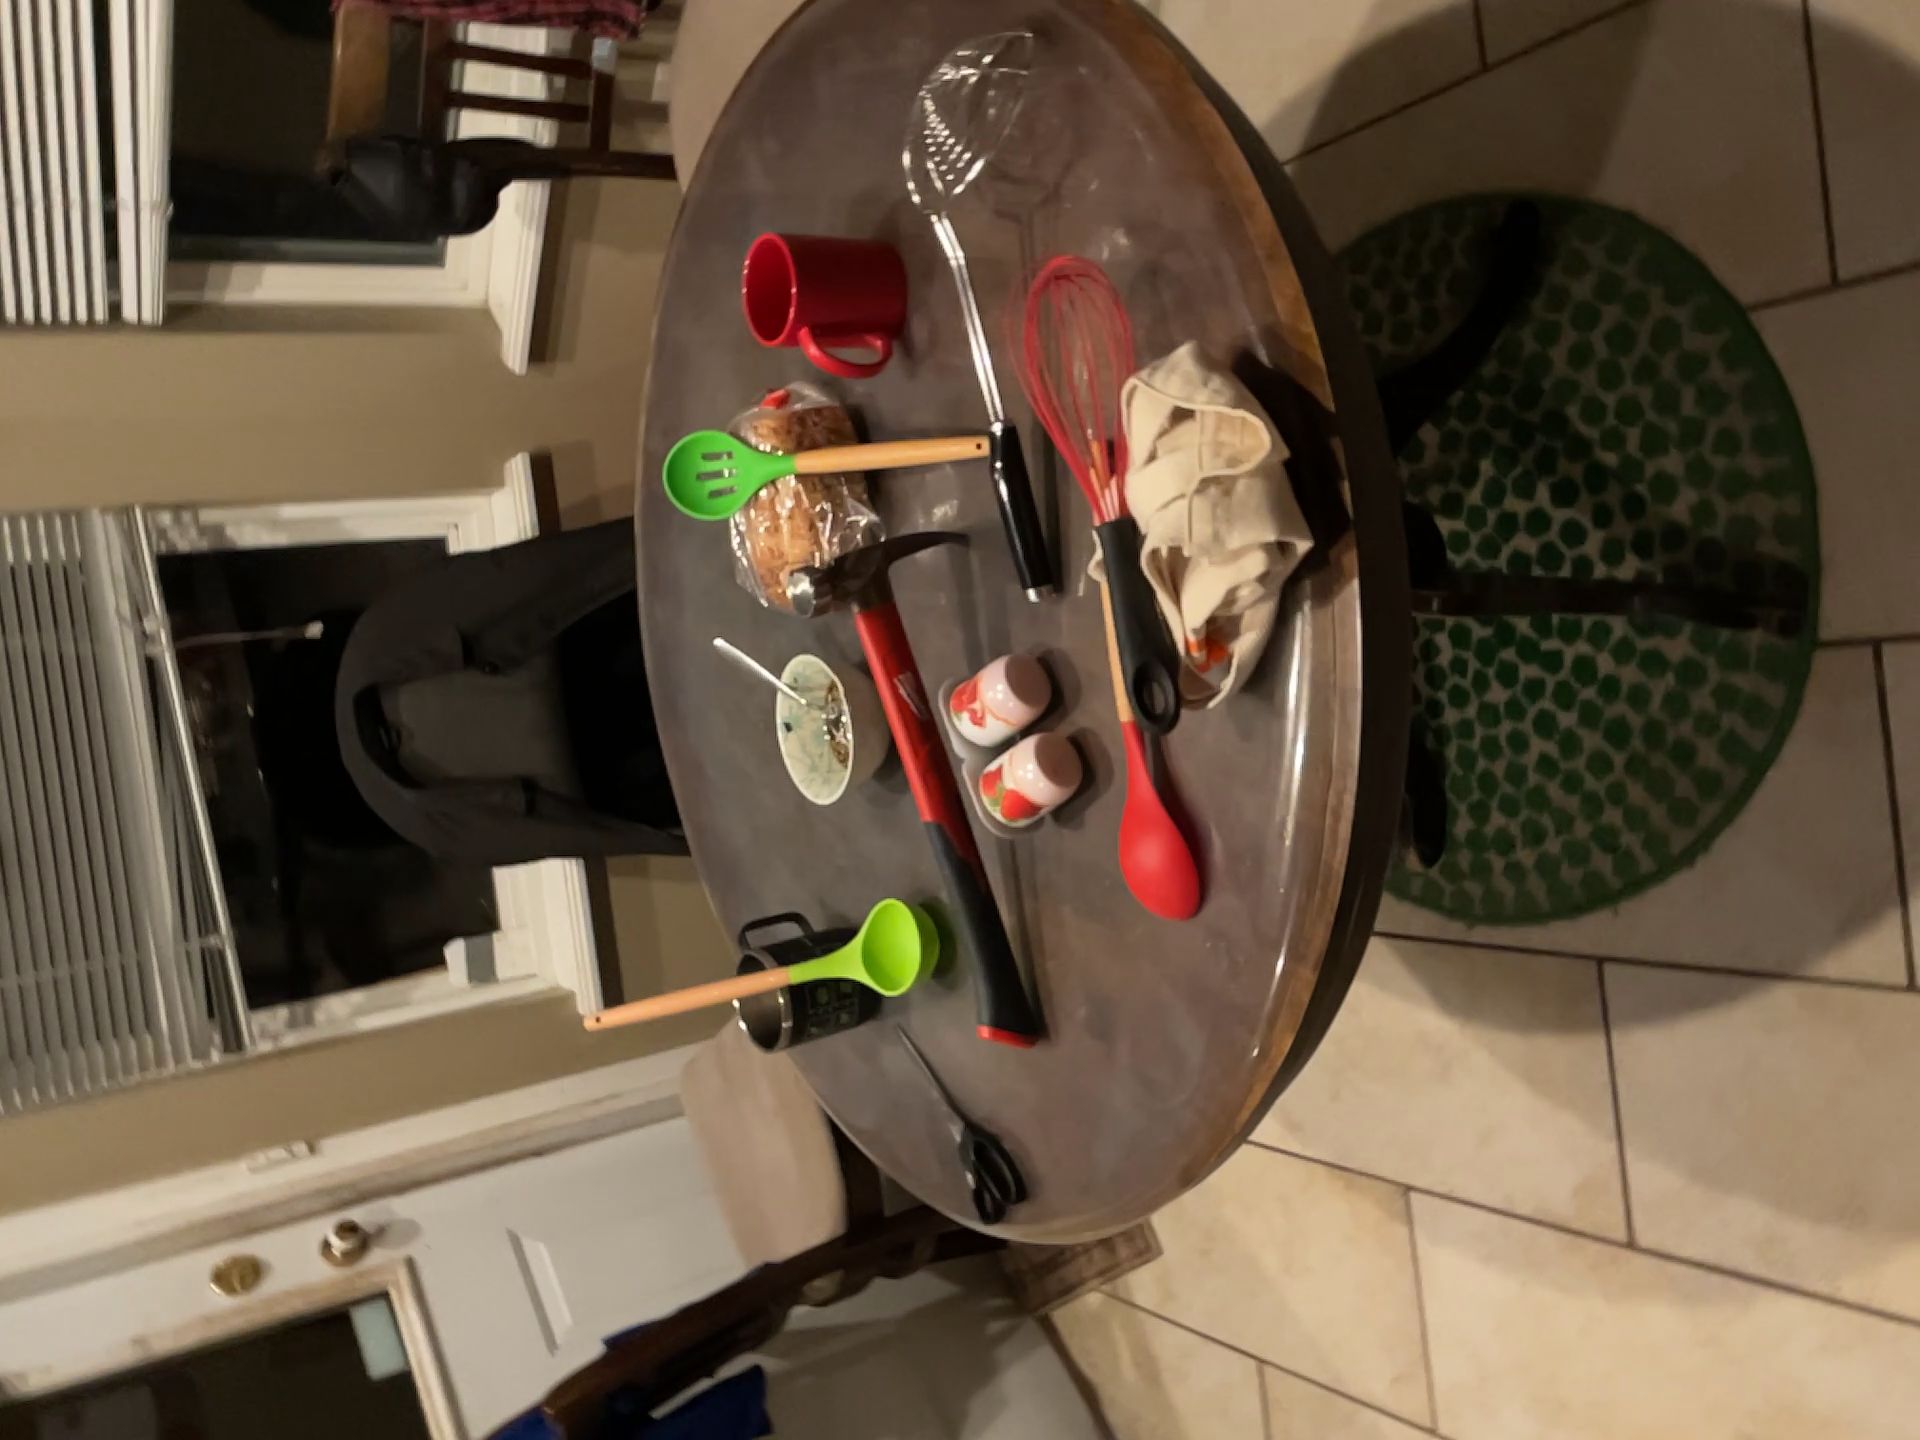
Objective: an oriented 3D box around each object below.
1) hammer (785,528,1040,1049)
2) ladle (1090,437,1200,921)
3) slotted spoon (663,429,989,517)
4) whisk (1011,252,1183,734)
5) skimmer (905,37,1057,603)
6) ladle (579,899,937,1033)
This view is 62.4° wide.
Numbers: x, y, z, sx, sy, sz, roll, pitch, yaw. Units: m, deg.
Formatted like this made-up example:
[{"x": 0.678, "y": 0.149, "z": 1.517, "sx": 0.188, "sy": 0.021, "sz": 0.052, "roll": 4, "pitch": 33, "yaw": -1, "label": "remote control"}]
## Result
[{"x": -0.002, "y": 0.053, "z": 1.160, "sx": 0.038, "sy": 0.143, "sz": 0.386, "roll": -8, "pitch": 102, "yaw": 58, "label": "hammer"}, {"x": 0.109, "y": -0.026, "z": 1.017, "sx": 0.069, "sy": 0.031, "sz": 0.315, "roll": -9, "pitch": 87, "yaw": 56, "label": "ladle"}, {"x": -0.100, "y": -0.195, "z": 1.197, "sx": 0.314, "sy": 0.031, "sz": 0.070, "roll": 1, "pitch": 103, "yaw": 34, "label": "slotted spoon"}, {"x": 0.087, "y": -0.136, "z": 0.934, "sx": 0.073, "sy": 0.073, "sz": 0.296, "roll": -20, "pitch": 81, "yaw": 55, "label": "whisk"}, {"x": 0.038, "y": -0.264, "z": 1.065, "sx": 0.127, "sy": 0.090, "sz": 0.363, "roll": 8, "pitch": 114, "yaw": 64, "label": "skimmer"}, {"x": -0.170, "y": 0.214, "z": 1.292, "sx": 0.062, "sy": 0.320, "sz": 0.078, "roll": 51, "pitch": -154, "yaw": -65, "label": "ladle"}]
